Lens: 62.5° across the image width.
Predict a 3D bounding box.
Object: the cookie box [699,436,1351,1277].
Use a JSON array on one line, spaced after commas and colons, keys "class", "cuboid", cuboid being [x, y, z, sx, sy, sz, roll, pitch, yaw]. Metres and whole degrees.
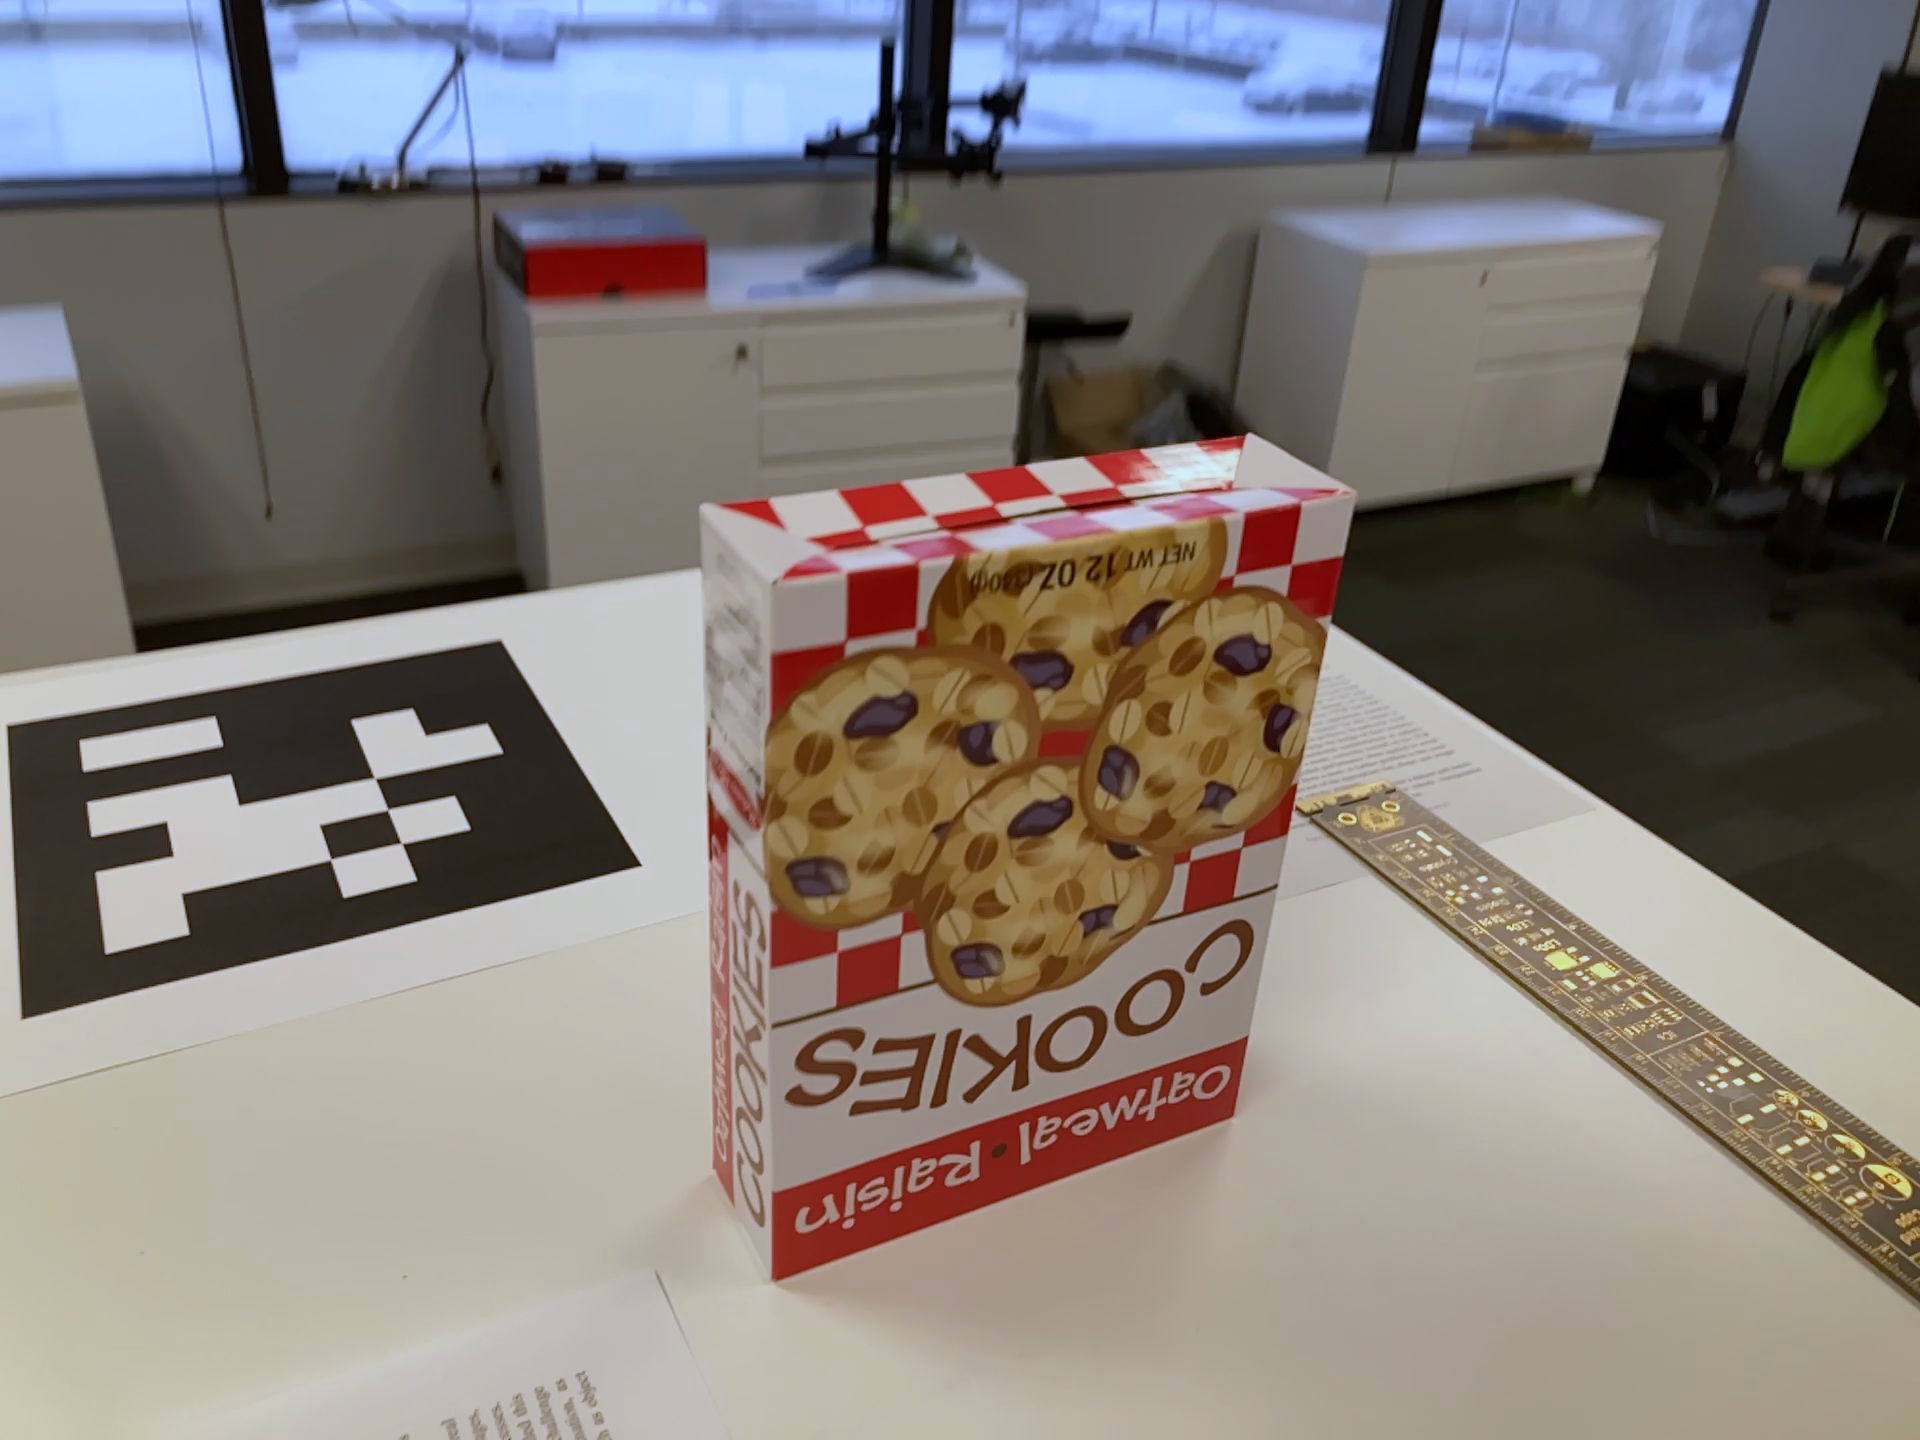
[{"class": "cookie box", "cuboid": [0.010, 0.030, 0.341, 0.123, 0.167, 0.040, -12, 33, -24]}]
